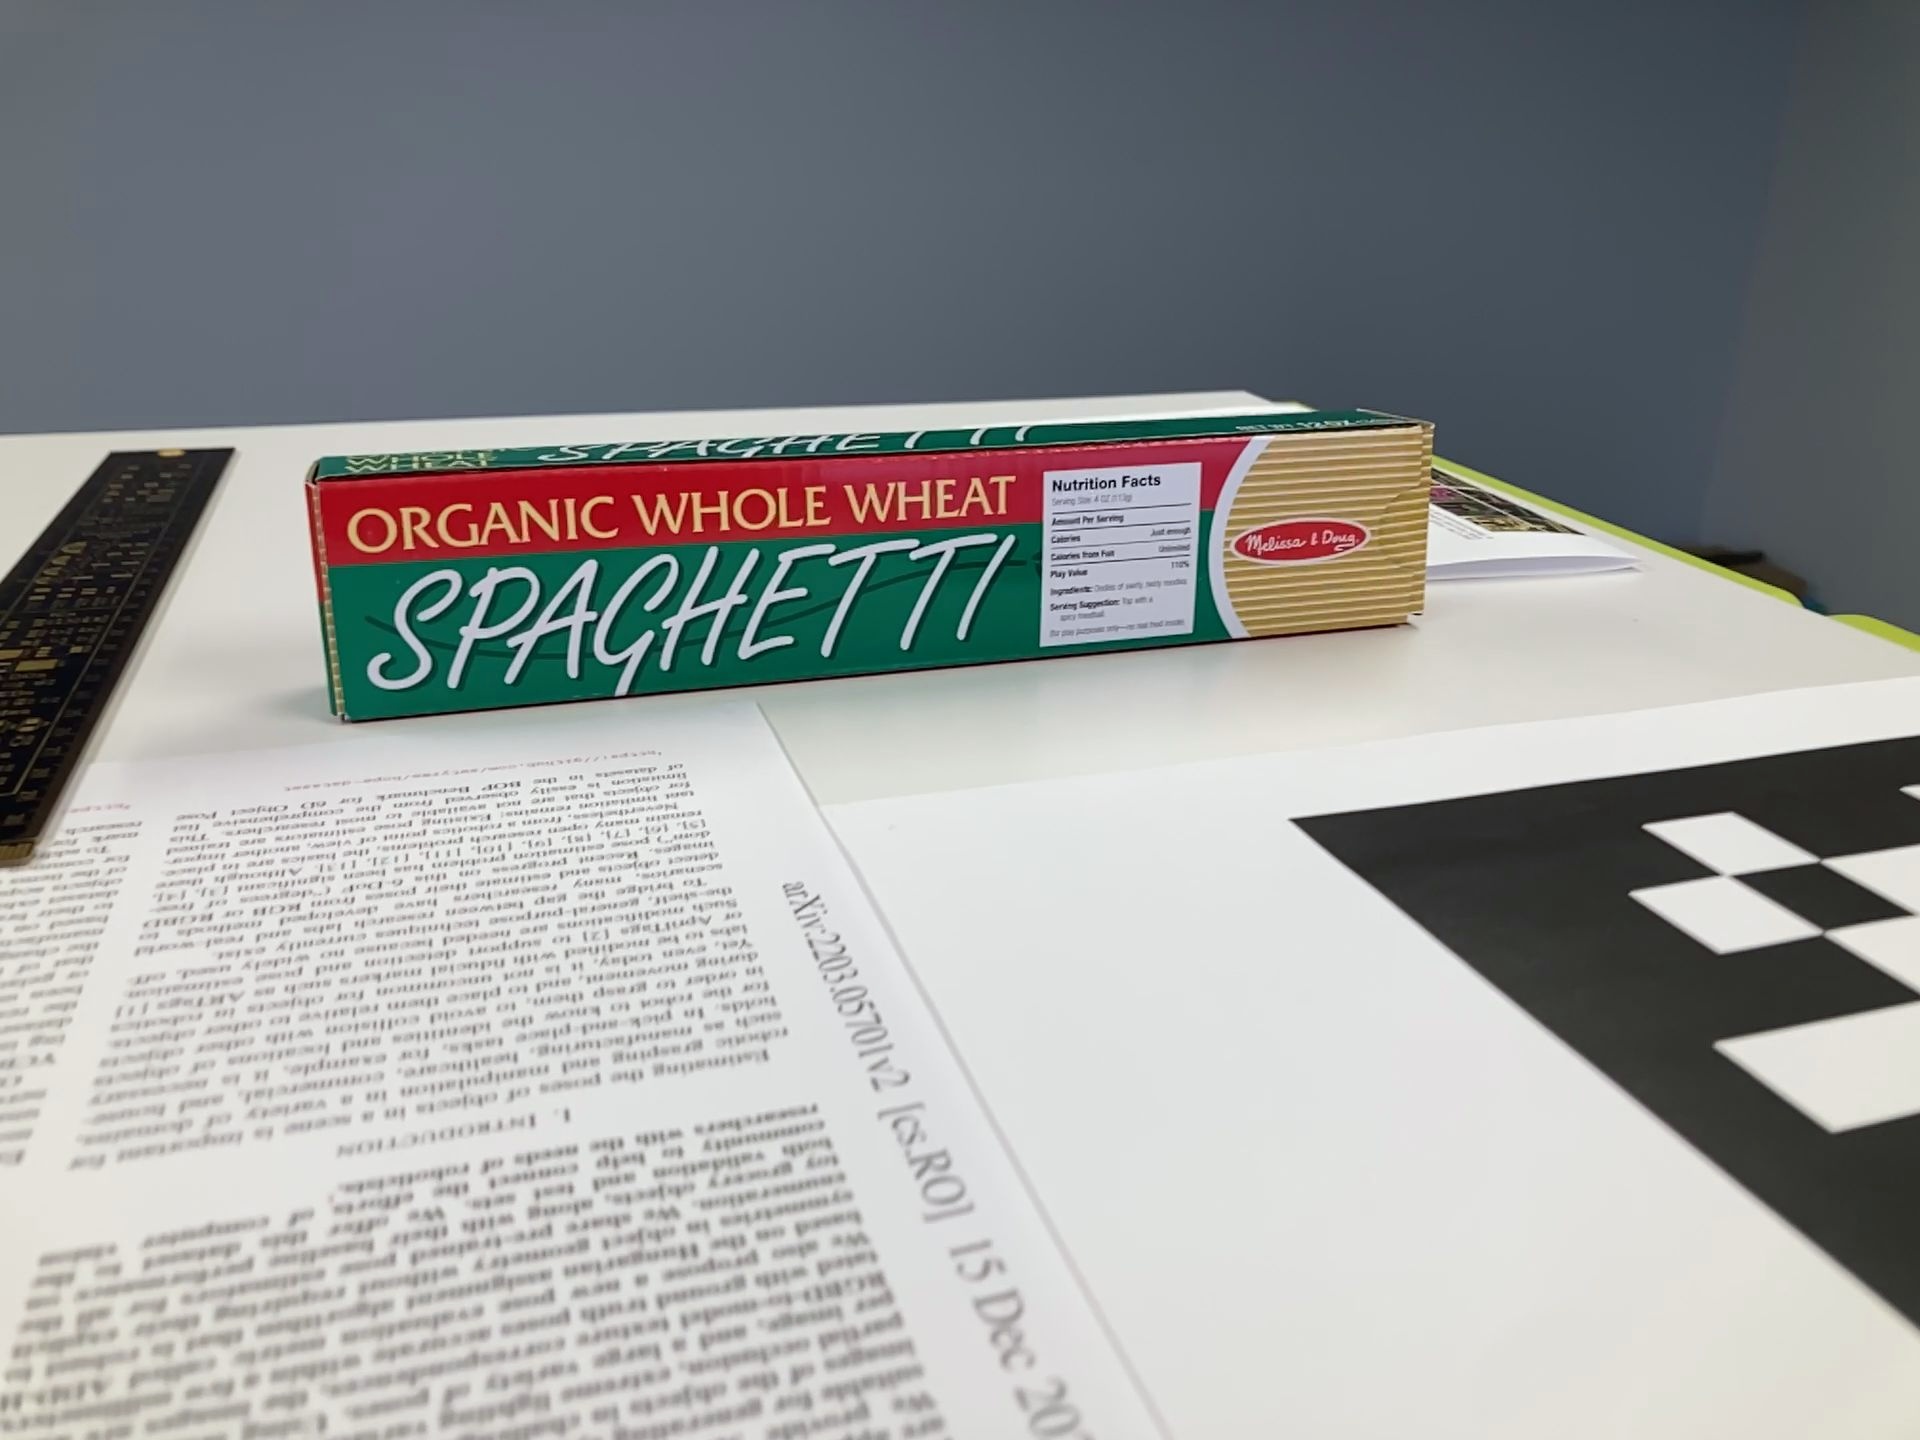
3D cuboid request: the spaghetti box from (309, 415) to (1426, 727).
[{"bbox_3d":[-0.011,-0.038,0.357,0.250,0.050,0.028,-6,18,-18],"label":"spaghetti box"}]
